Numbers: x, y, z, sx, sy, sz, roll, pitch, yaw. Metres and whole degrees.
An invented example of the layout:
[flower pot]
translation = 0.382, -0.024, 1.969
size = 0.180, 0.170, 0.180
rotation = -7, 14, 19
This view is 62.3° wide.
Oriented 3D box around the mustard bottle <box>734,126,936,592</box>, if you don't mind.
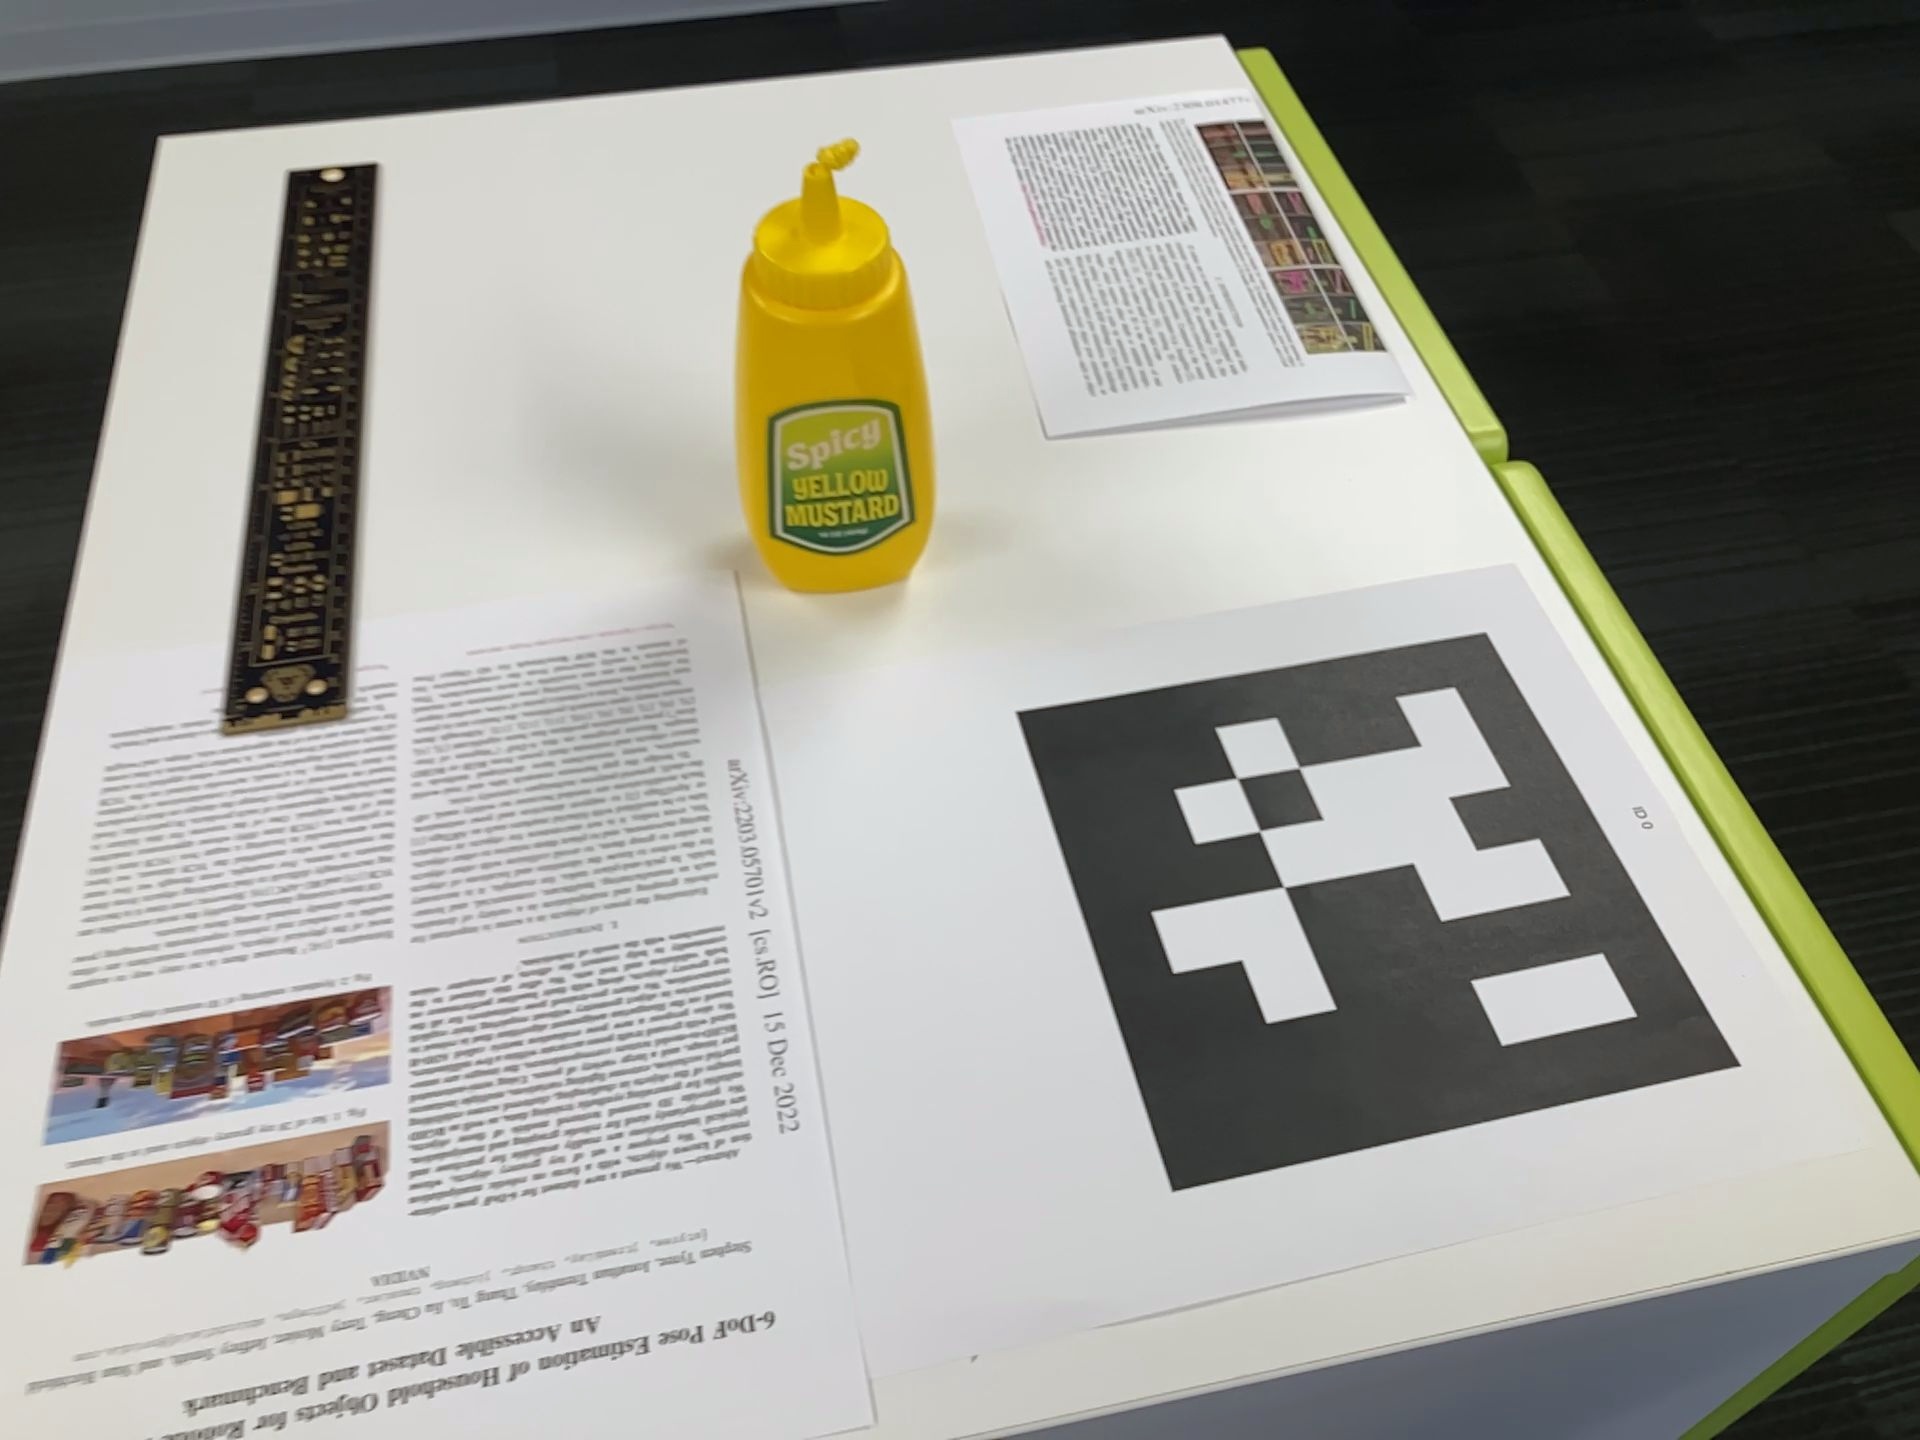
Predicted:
[mustard bottle]
translation = -0.041, -0.108, 0.491
size = 0.065, 0.160, 0.049
rotation = -7, 53, -5
